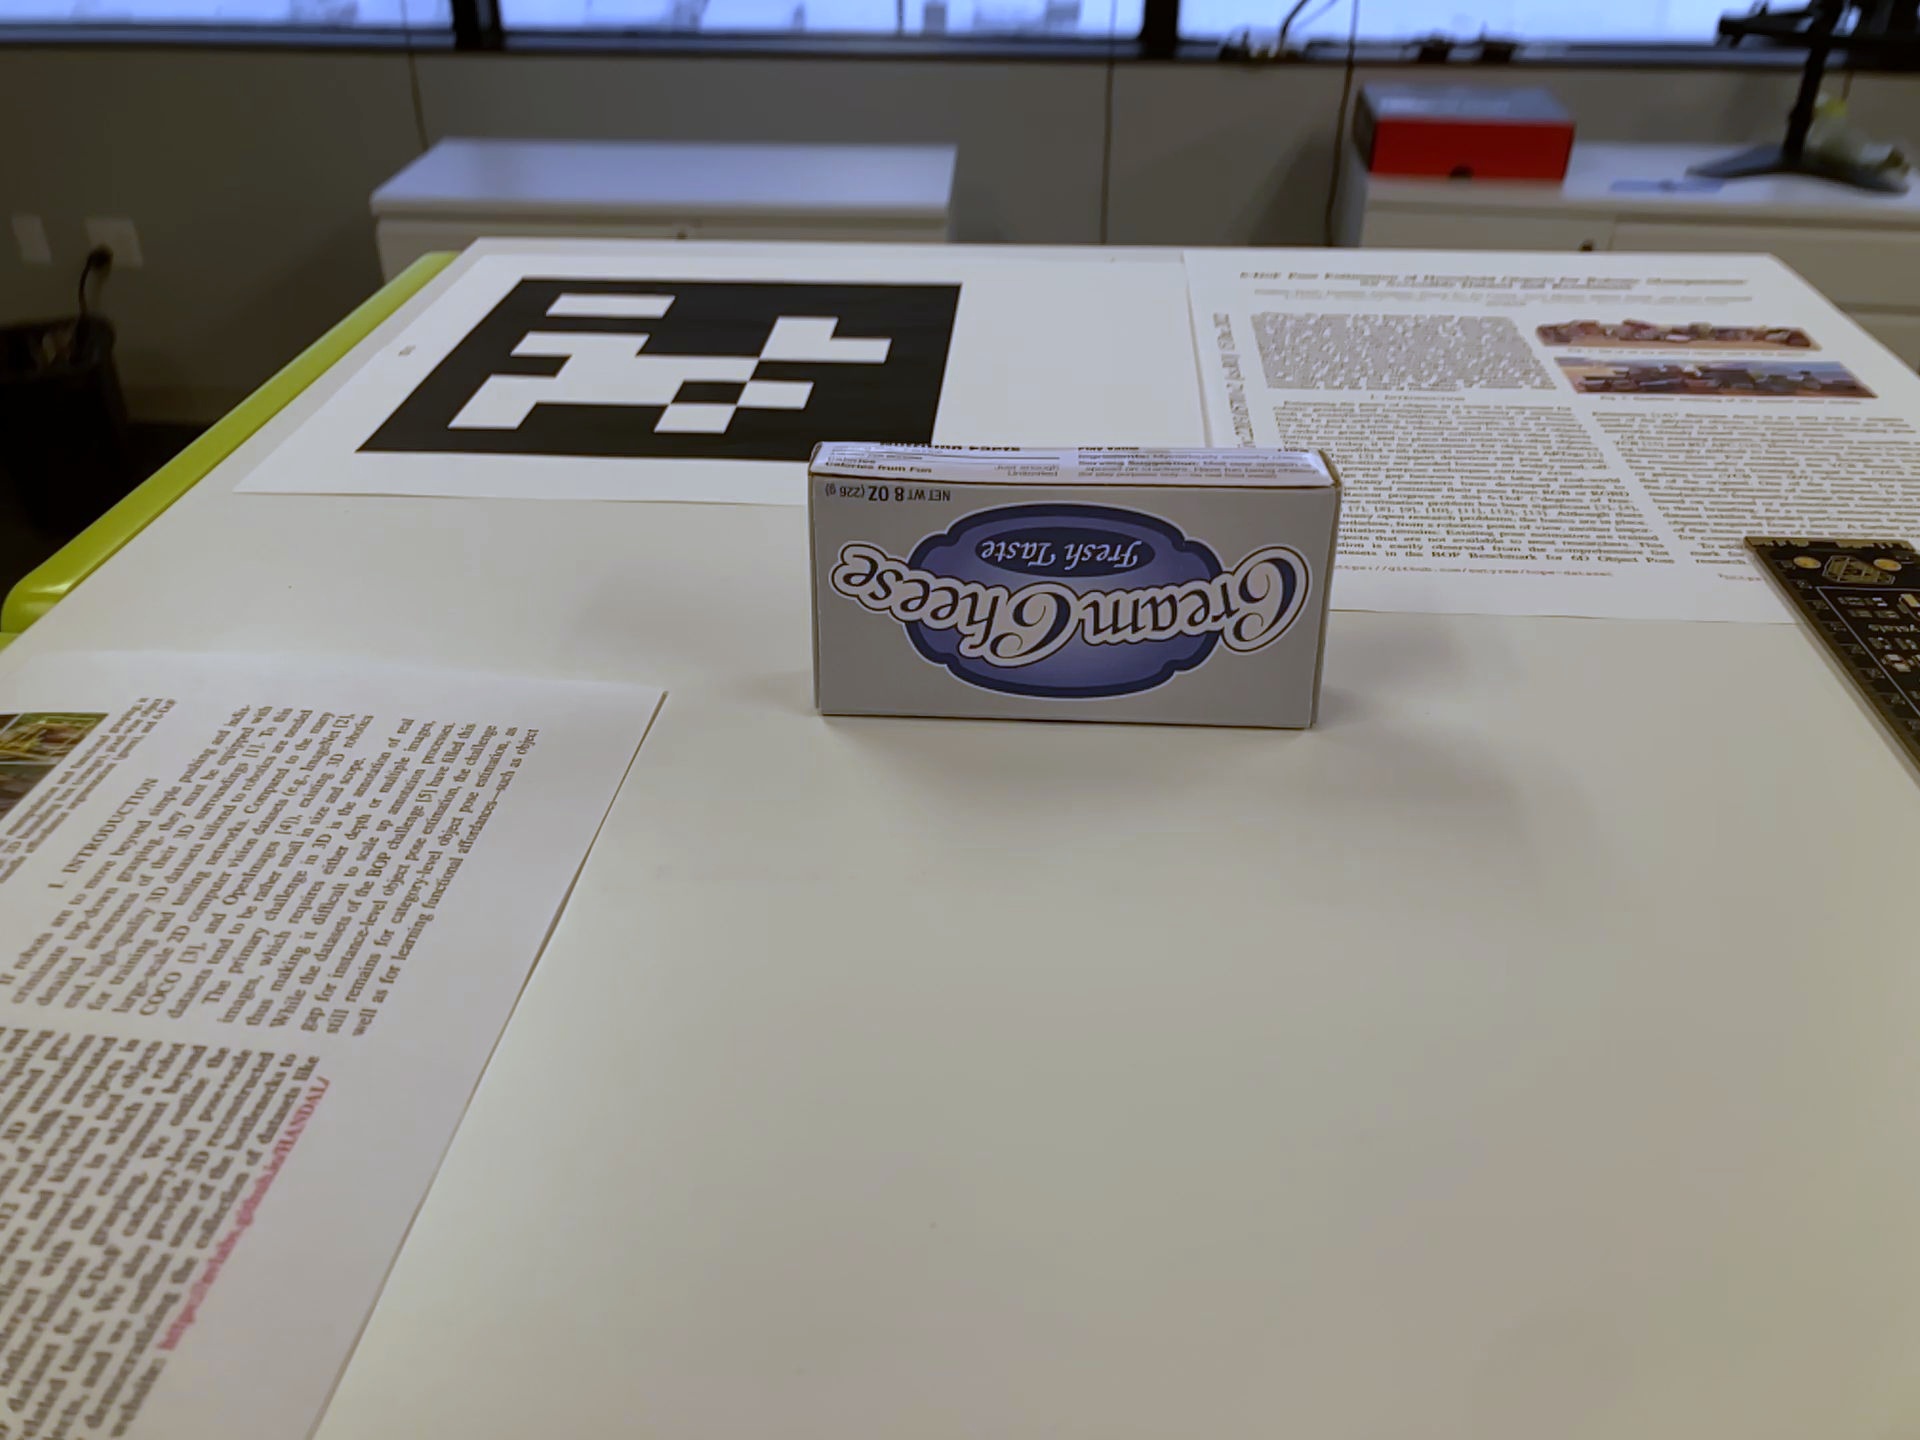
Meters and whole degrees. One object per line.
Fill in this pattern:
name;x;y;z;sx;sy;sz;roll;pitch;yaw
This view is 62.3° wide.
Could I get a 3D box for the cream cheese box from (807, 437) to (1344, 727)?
cream cheese box;0.021;-0.028;0.319;0.104;0.053;0.024;2;30;3
